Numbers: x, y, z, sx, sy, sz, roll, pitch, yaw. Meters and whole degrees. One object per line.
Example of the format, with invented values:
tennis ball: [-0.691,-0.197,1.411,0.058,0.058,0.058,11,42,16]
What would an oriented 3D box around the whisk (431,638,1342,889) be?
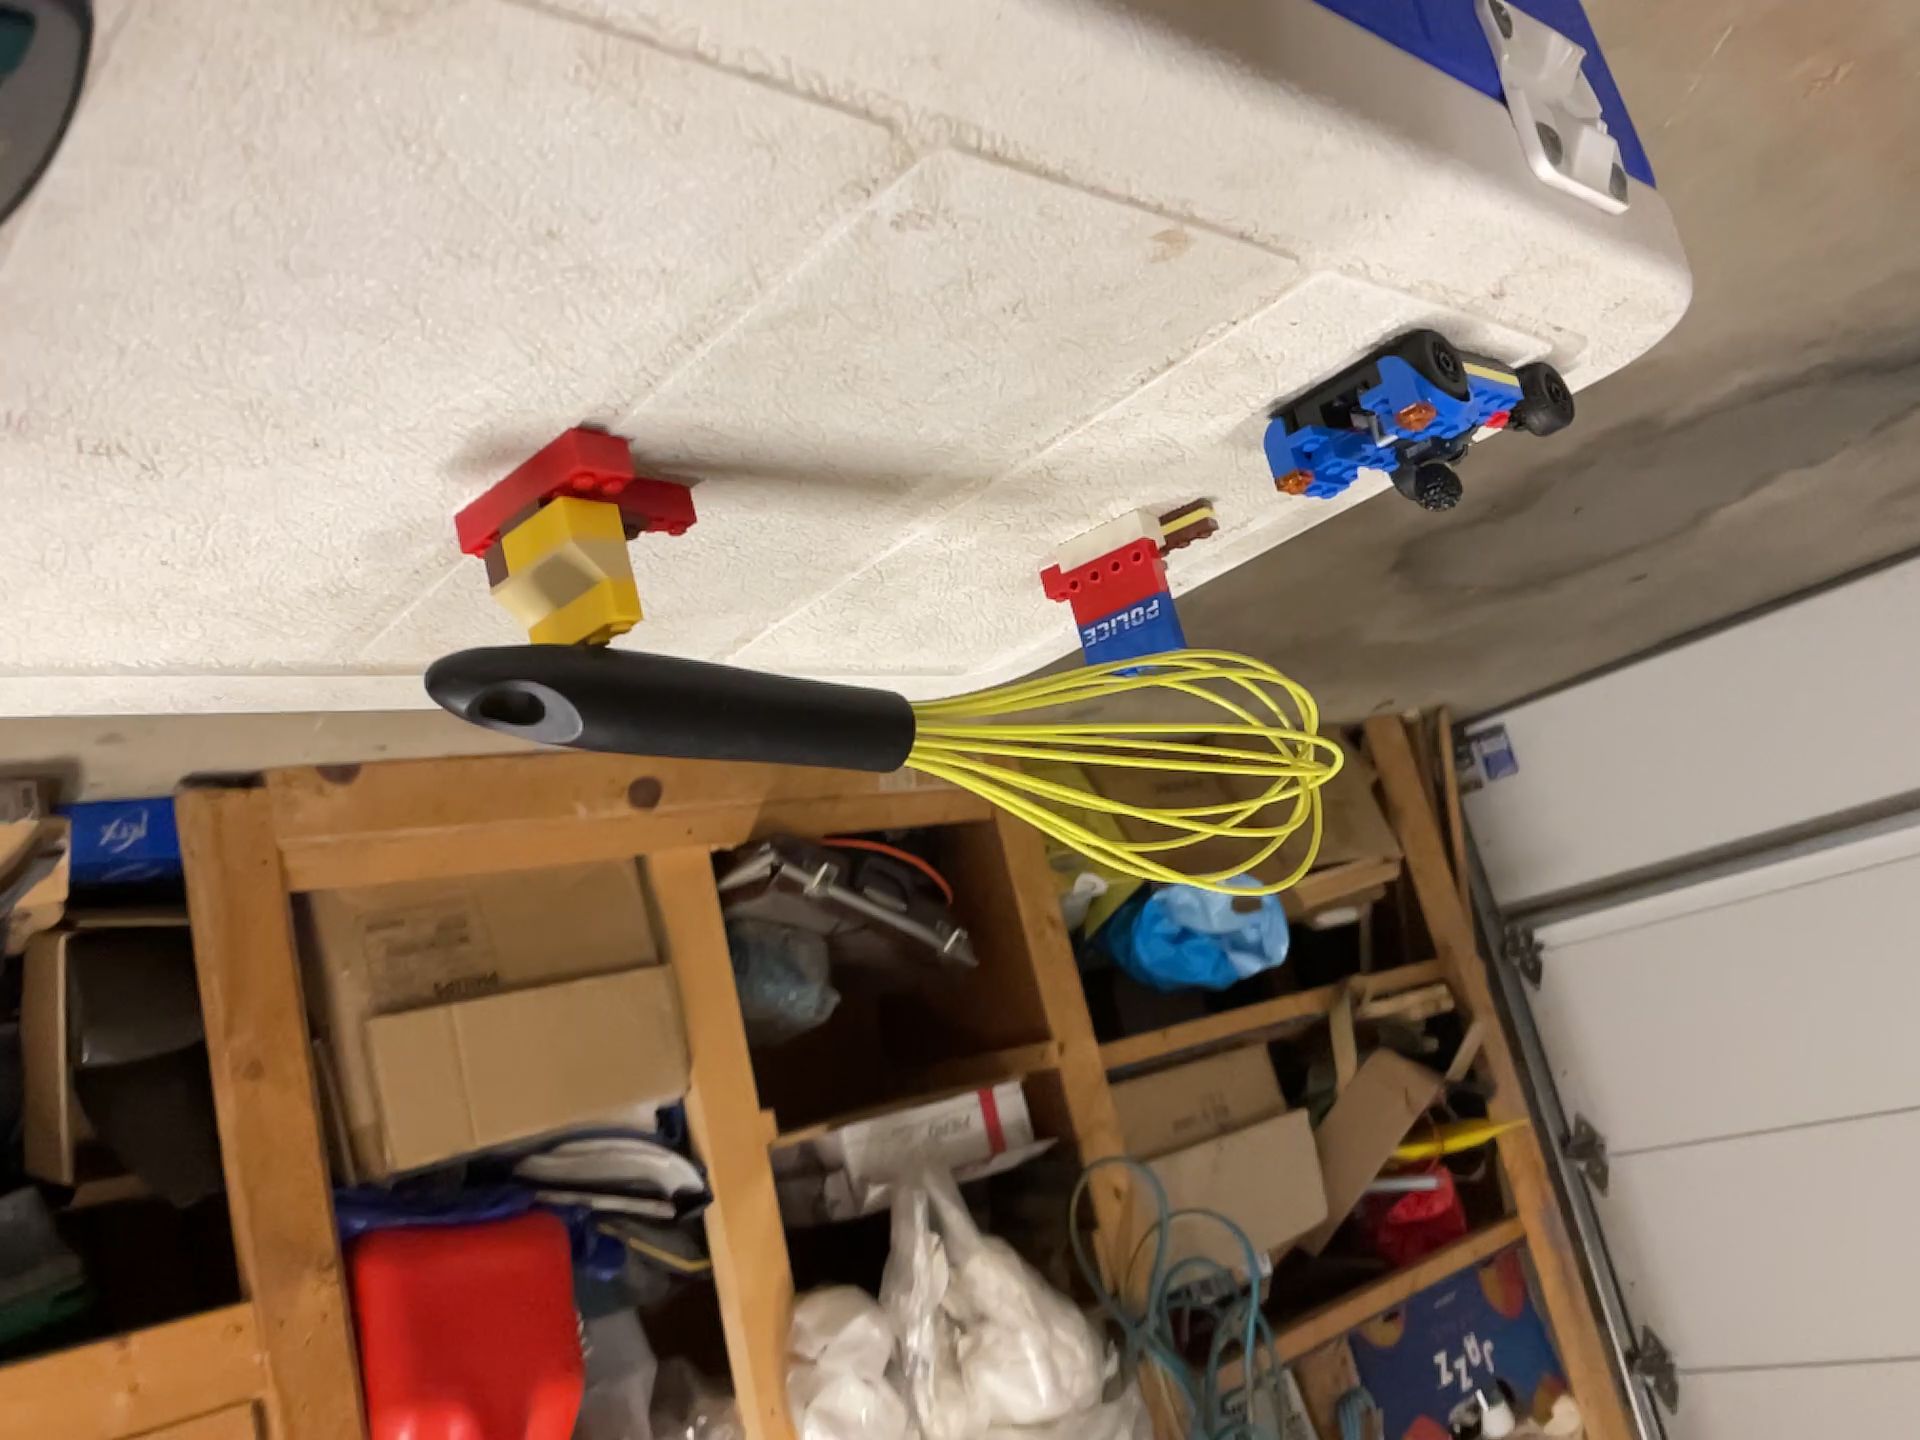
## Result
whisk: [0.003,0.004,0.446,0.311,0.067,0.080,7,109,-40]
